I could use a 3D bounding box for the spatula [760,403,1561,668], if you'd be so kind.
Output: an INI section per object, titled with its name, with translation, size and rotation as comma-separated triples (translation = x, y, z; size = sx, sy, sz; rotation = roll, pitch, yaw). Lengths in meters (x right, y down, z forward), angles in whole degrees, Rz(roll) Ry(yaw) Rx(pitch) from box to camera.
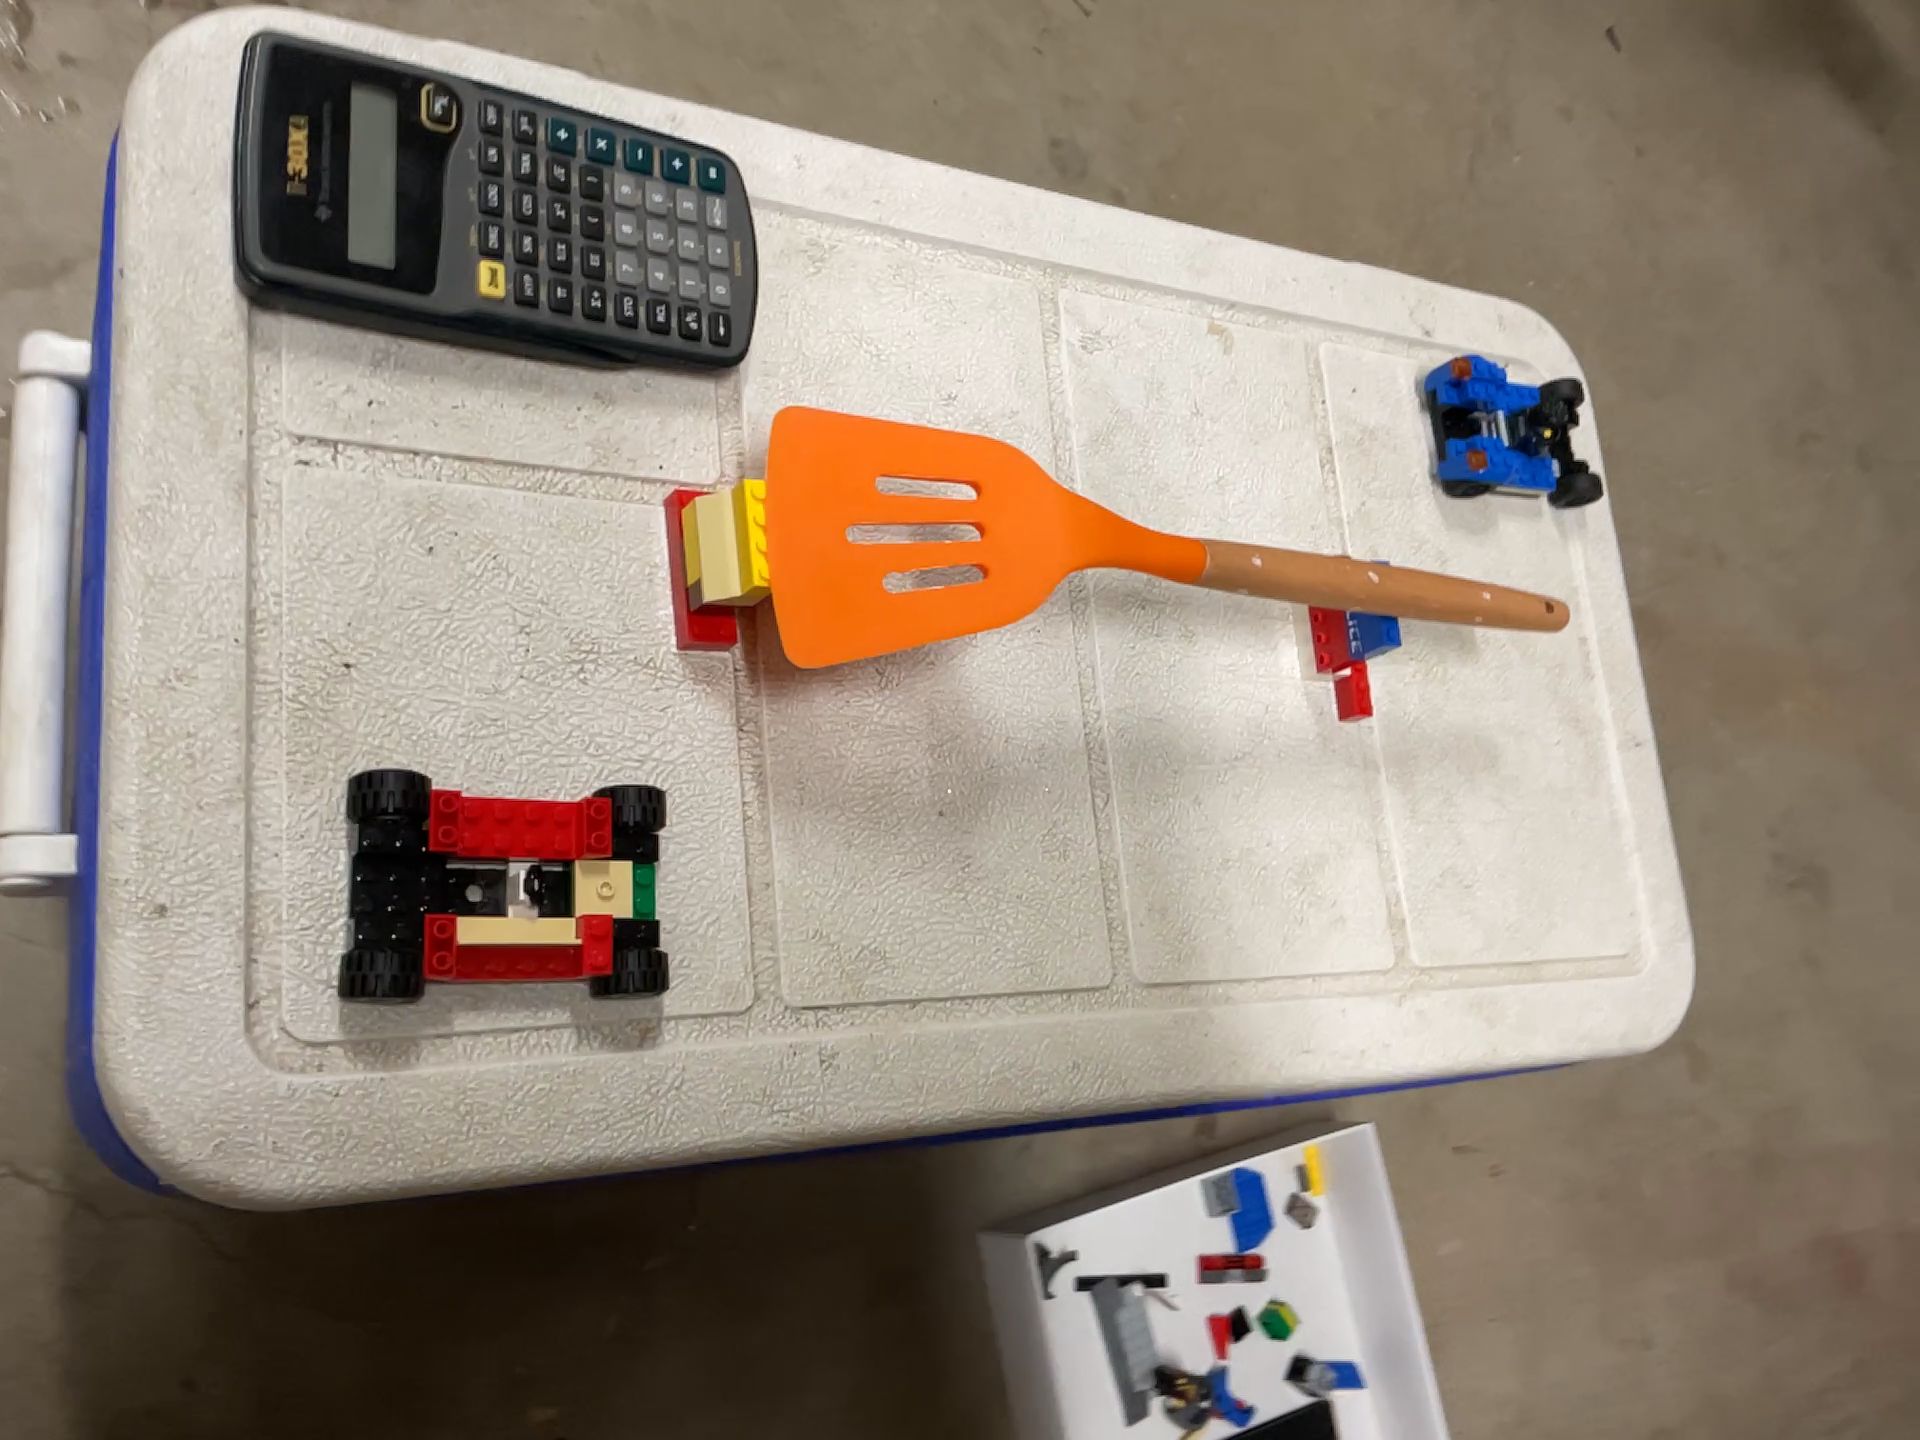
[spatula]
translation = 0.087, -0.048, 0.531
size = 0.322, 0.041, 0.081
rotation = 4, 73, -34
